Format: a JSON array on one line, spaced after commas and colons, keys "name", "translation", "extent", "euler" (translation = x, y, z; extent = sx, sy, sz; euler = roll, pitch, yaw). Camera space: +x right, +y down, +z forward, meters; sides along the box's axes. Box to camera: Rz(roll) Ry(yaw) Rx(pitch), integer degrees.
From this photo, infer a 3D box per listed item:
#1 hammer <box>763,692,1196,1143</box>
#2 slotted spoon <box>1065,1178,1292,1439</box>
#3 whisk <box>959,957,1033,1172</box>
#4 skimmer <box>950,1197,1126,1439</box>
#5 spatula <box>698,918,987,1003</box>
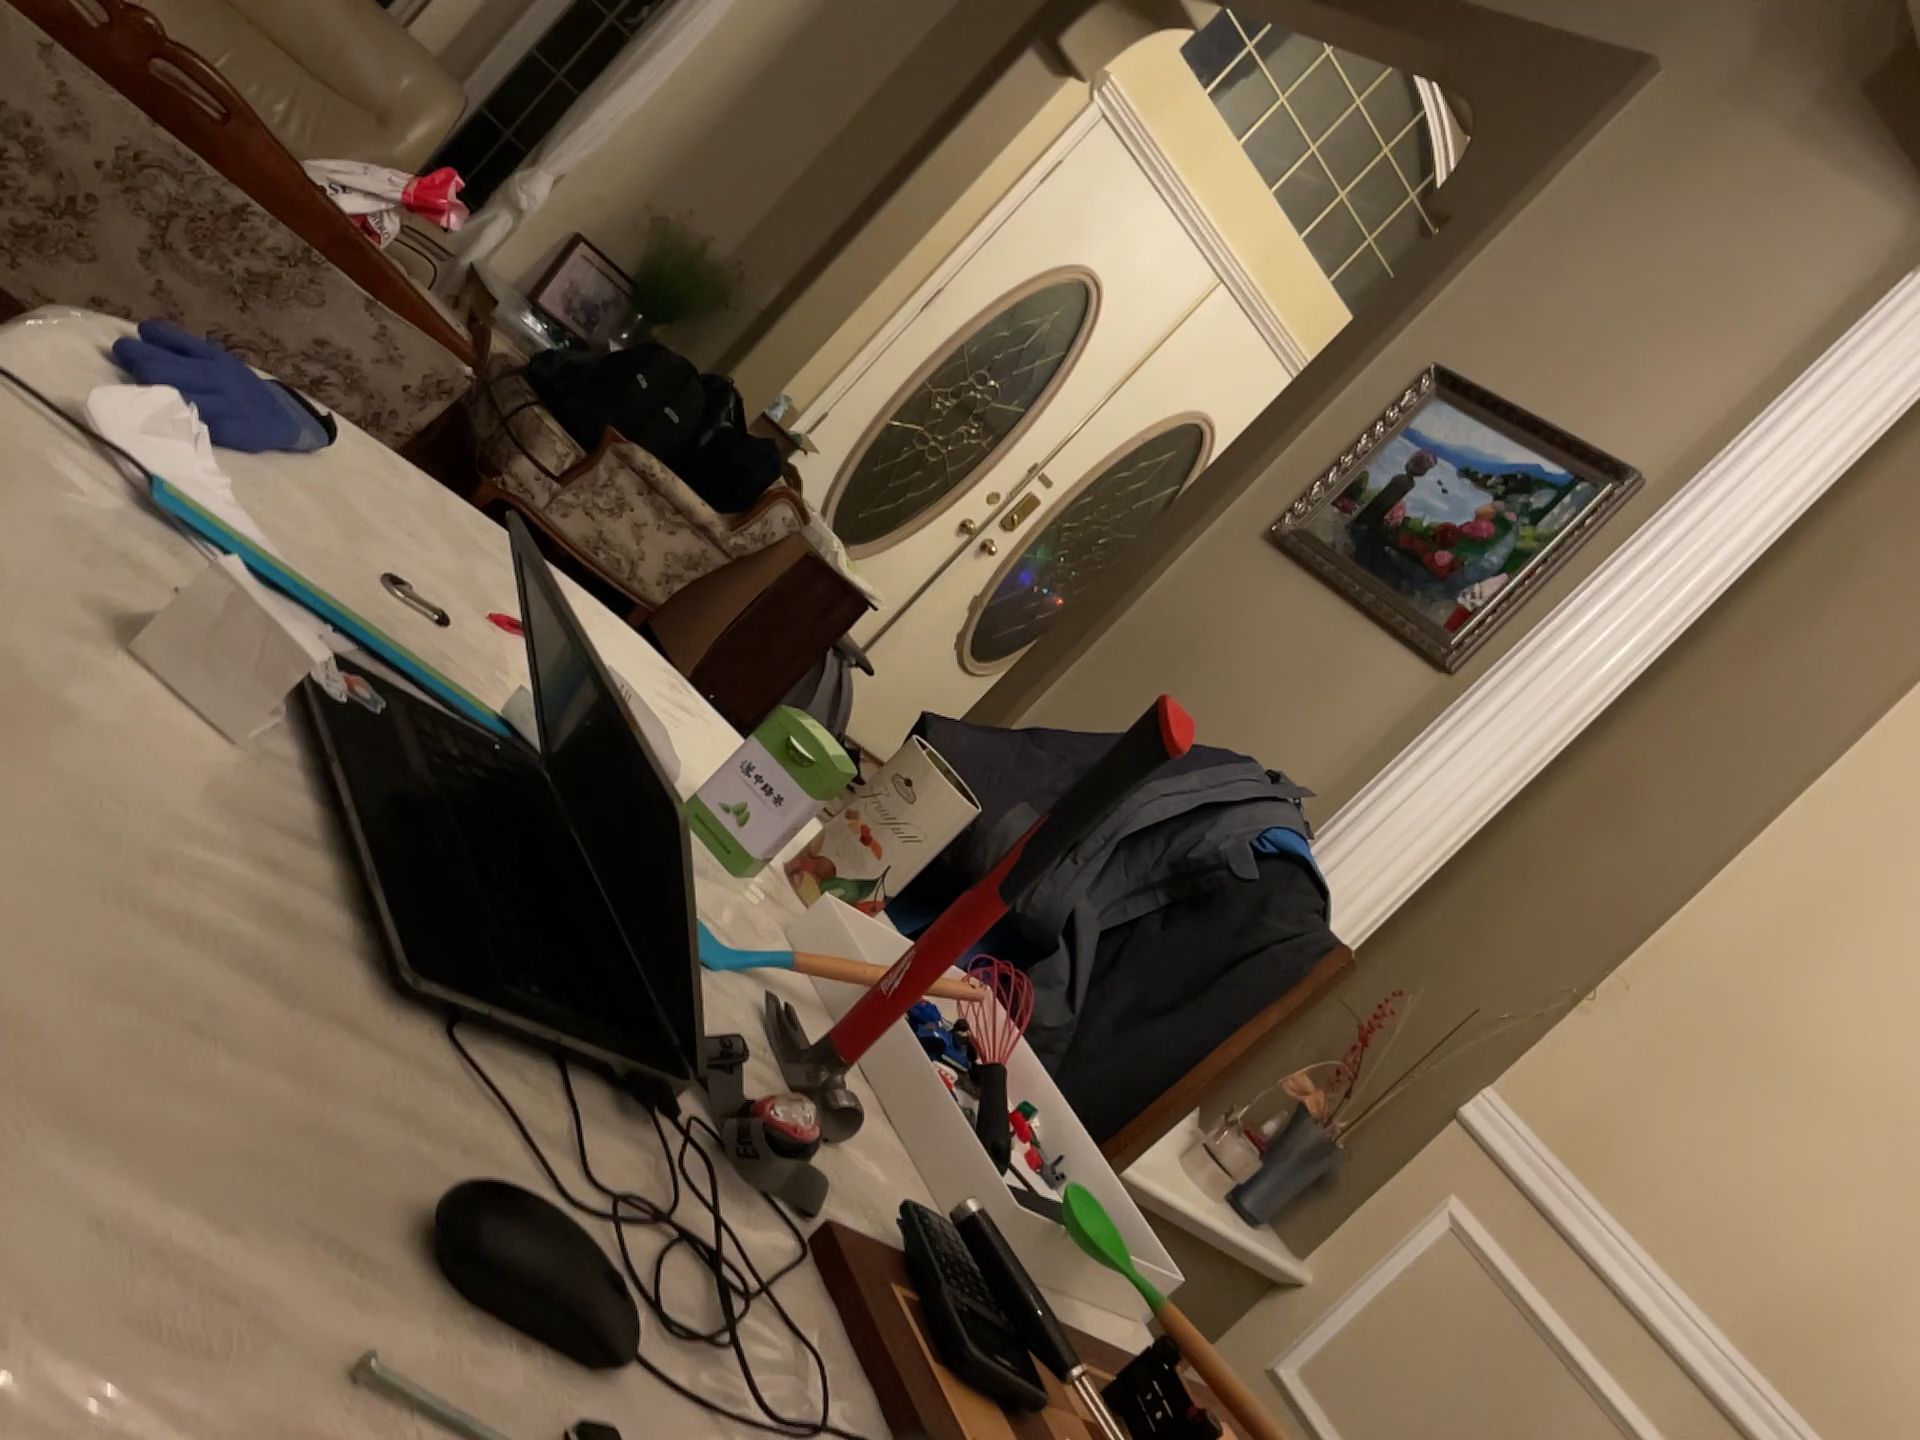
[{"name": "hammer", "translation": [0.013, 0.119, 1.129], "extent": [0.038, 0.386, 0.143], "euler": [39, 8, -38]}, {"name": "slotted spoon", "translation": [0.150, 0.410, 1.070], "extent": [0.070, 0.031, 0.314], "euler": [43, -3, -30]}, {"name": "whisk", "translation": [0.030, 0.303, 1.419], "extent": [0.073, 0.073, 0.296], "euler": [25, 24, -9]}, {"name": "skimmer", "translation": [0.125, 0.423, 0.945], "extent": [0.364, 0.090, 0.127], "euler": [52, 10, 25]}, {"name": "spatula", "translation": [-0.107, 0.186, 1.253], "extent": [0.317, 0.044, 0.082], "euler": [16, 19, -30]}]
